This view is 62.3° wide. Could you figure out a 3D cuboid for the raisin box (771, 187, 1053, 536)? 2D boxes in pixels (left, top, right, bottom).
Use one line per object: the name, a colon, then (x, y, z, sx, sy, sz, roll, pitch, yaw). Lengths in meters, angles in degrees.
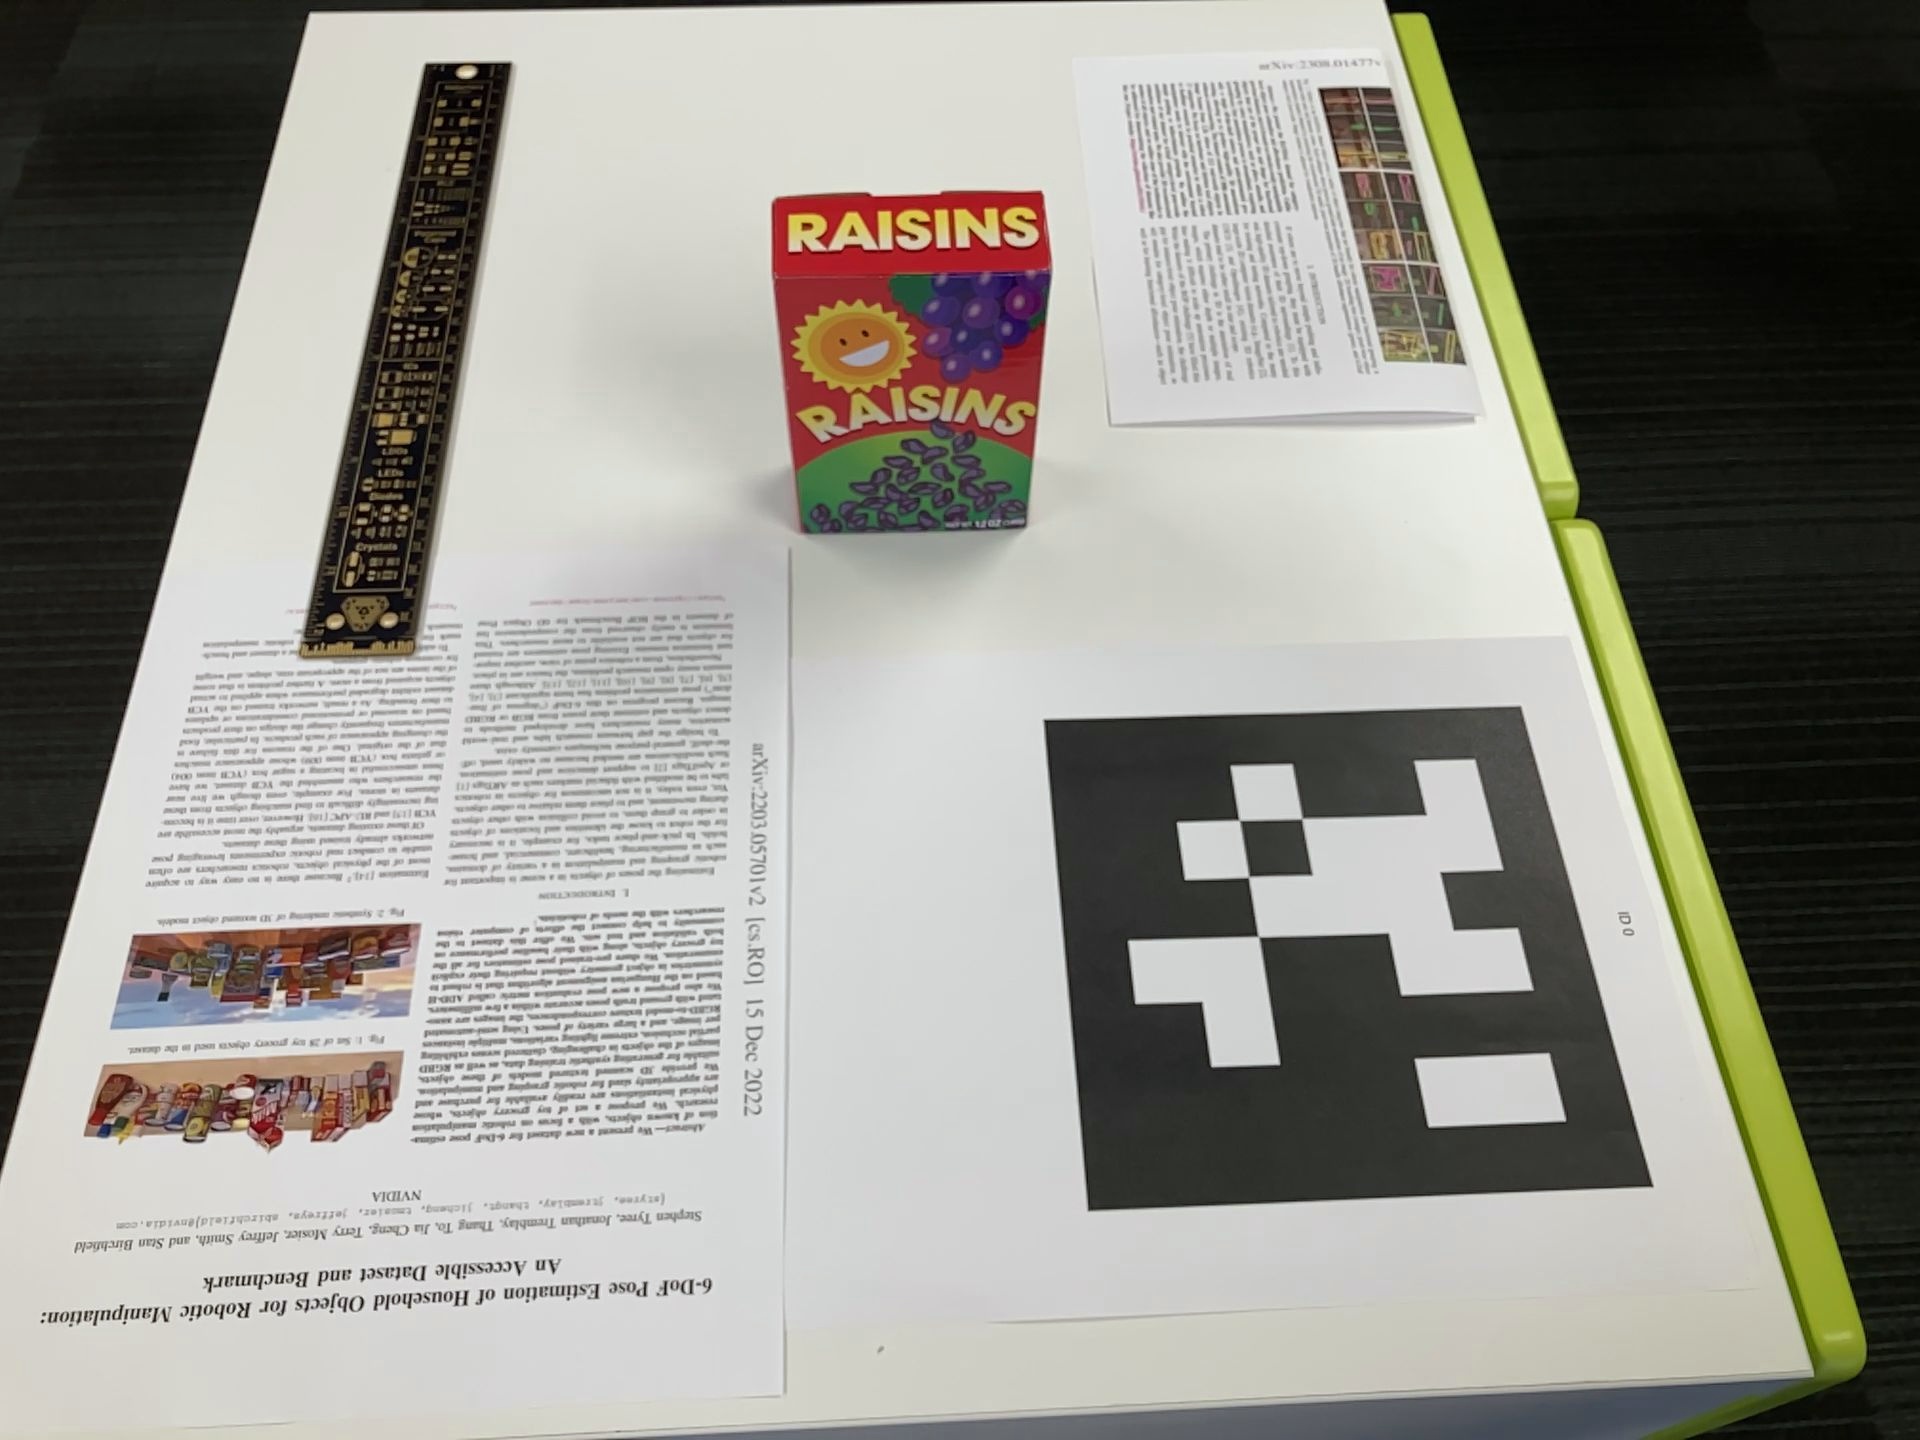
raisin box: (-0.016, -0.116, 0.529, 0.086, 0.123, 0.040, -1, 58, -2)
